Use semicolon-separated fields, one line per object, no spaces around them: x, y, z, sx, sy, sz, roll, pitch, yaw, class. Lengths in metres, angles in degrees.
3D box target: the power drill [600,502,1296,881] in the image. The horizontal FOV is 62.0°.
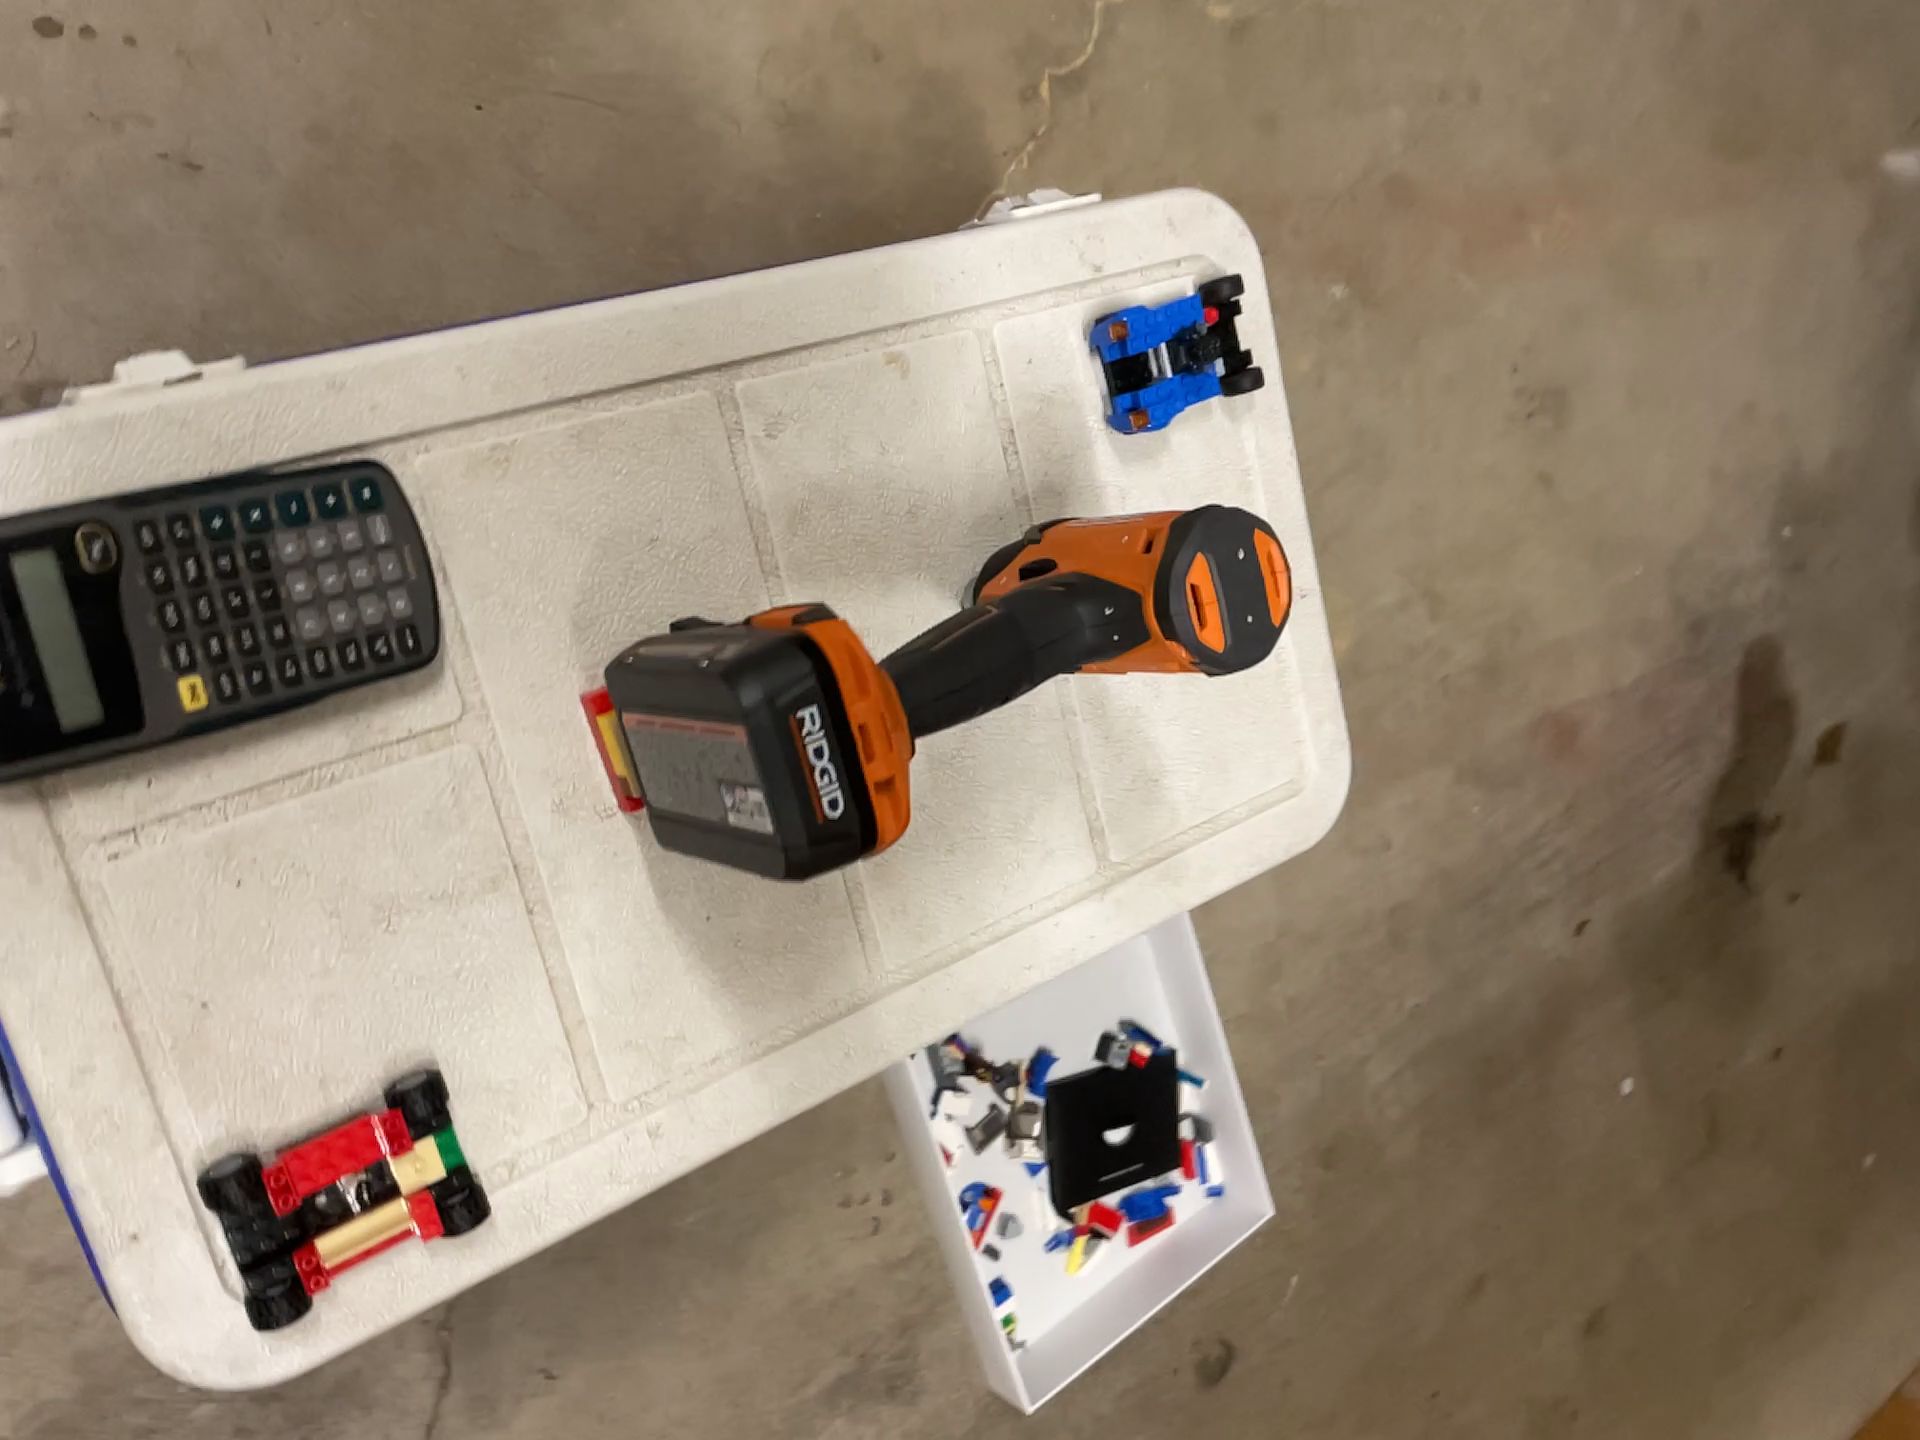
-0.010;-0.022;0.591;0.226;0.164;0.084;-23;105;-31;power drill
